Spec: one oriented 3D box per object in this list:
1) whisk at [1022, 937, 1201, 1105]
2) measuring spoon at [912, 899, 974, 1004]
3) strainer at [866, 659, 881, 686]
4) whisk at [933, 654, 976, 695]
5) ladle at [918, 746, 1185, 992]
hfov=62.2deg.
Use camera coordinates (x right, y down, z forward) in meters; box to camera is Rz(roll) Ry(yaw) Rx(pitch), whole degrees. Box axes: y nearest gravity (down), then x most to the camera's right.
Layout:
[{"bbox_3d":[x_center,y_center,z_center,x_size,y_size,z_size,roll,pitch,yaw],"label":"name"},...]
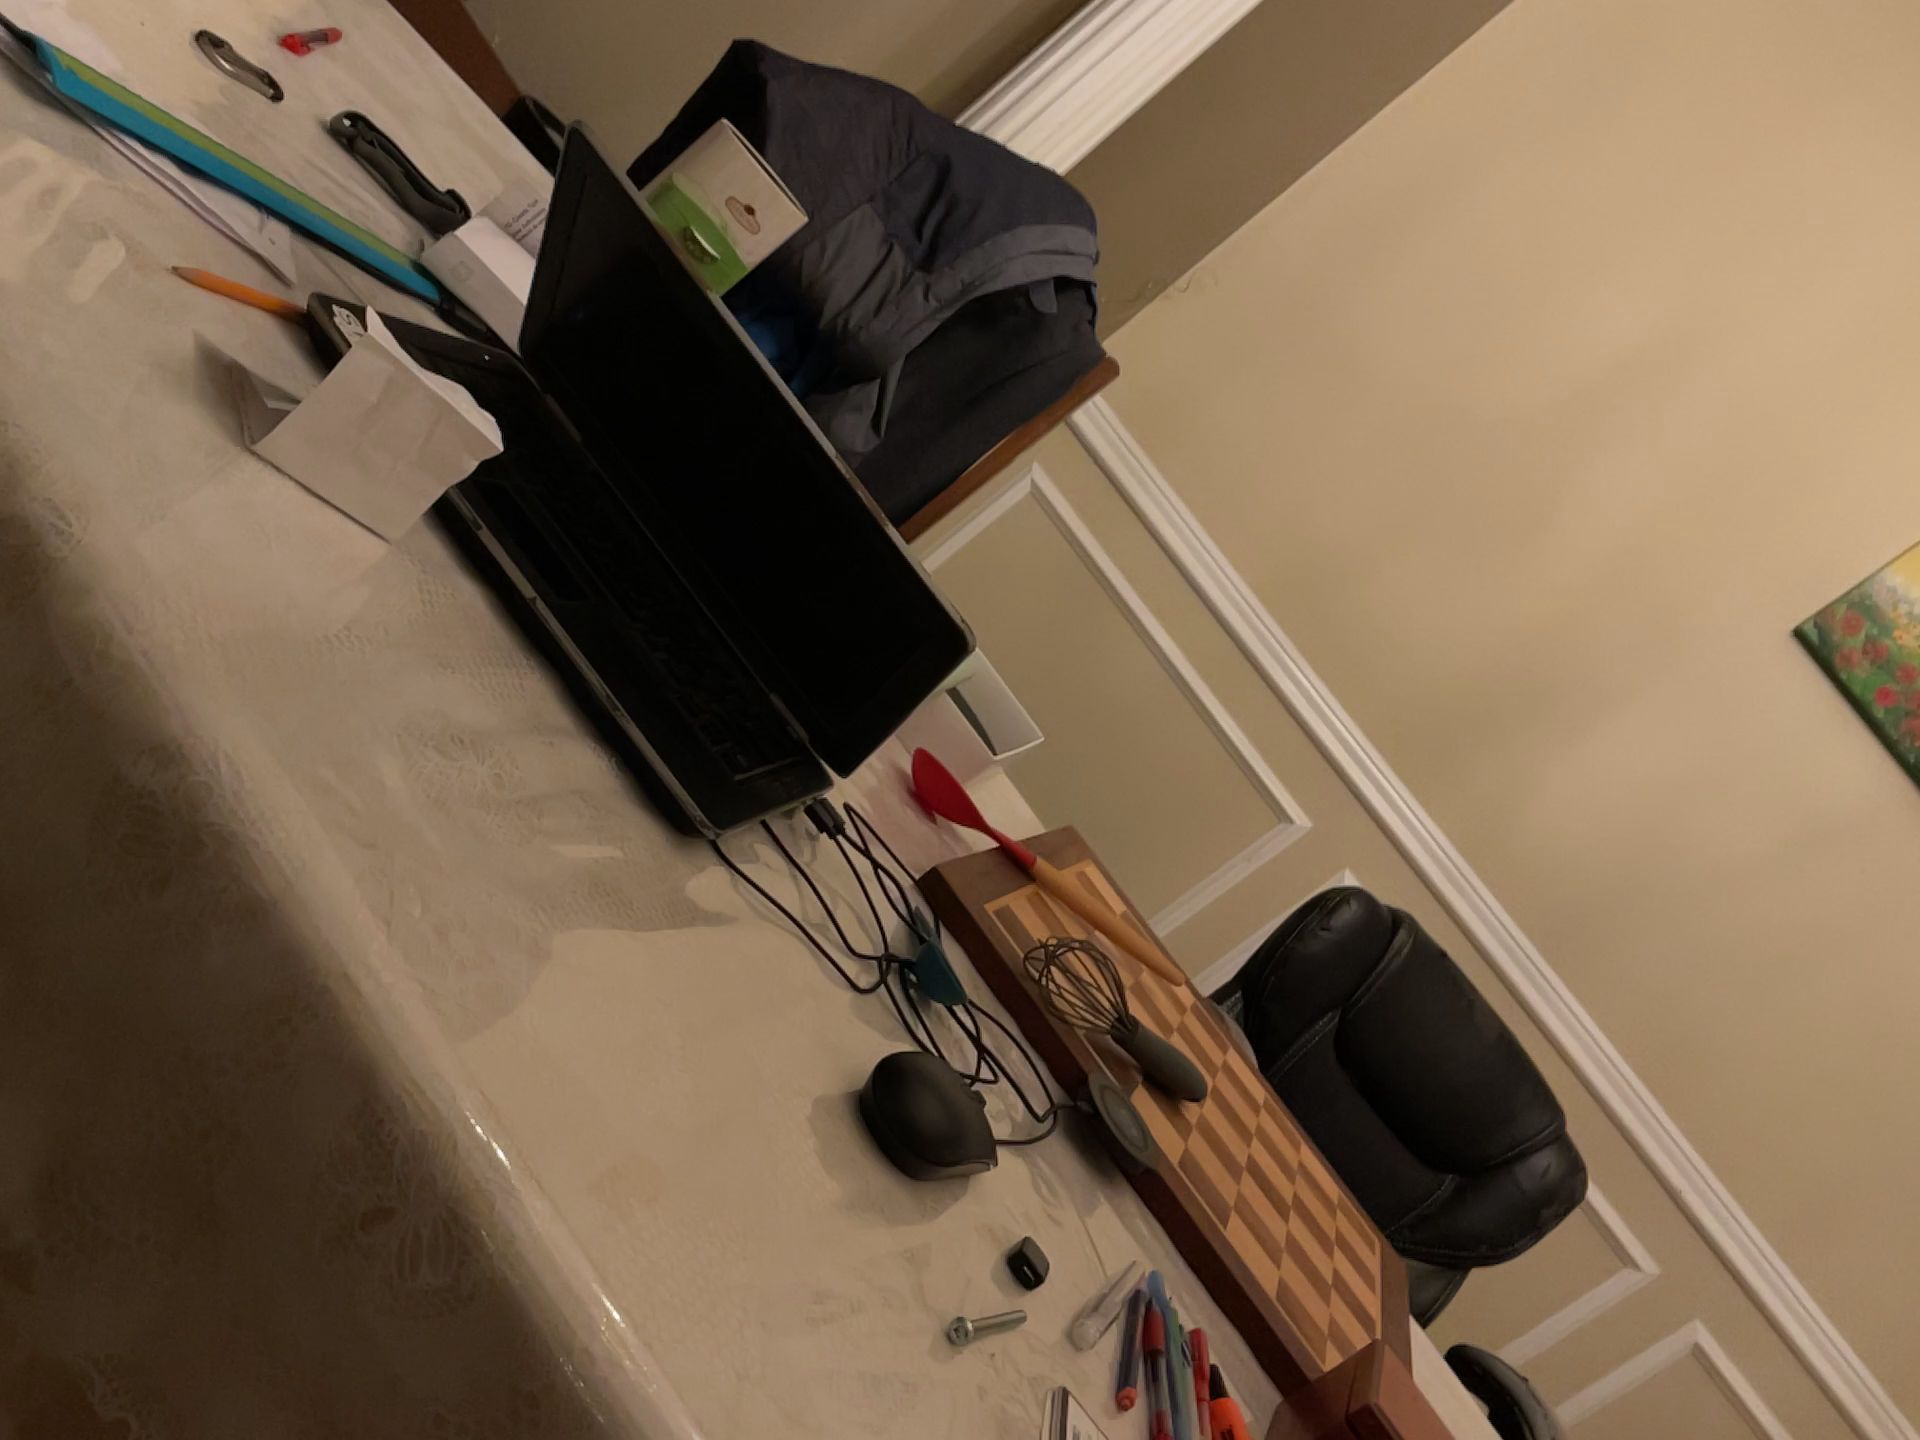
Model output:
[{"bbox_3d":[0.110,0.211,1.082,0.238,0.055,0.055,47,25,-42],"label":"whisk"},{"bbox_3d":[-0.020,0.135,0.941,0.042,0.021,0.129,56,-3,-17],"label":"measuring spoon"},{"bbox_3d":[-0.135,-0.103,0.997,0.341,0.095,0.210,56,-2,46],"label":"strainer"},{"bbox_3d":[-0.042,-0.023,1.167,0.246,0.058,0.059,-26,108,-65],"label":"whisk"},{"bbox_3d":[0.074,0.125,1.238,0.315,0.031,0.069,41,-7,-25],"label":"ladle"}]
